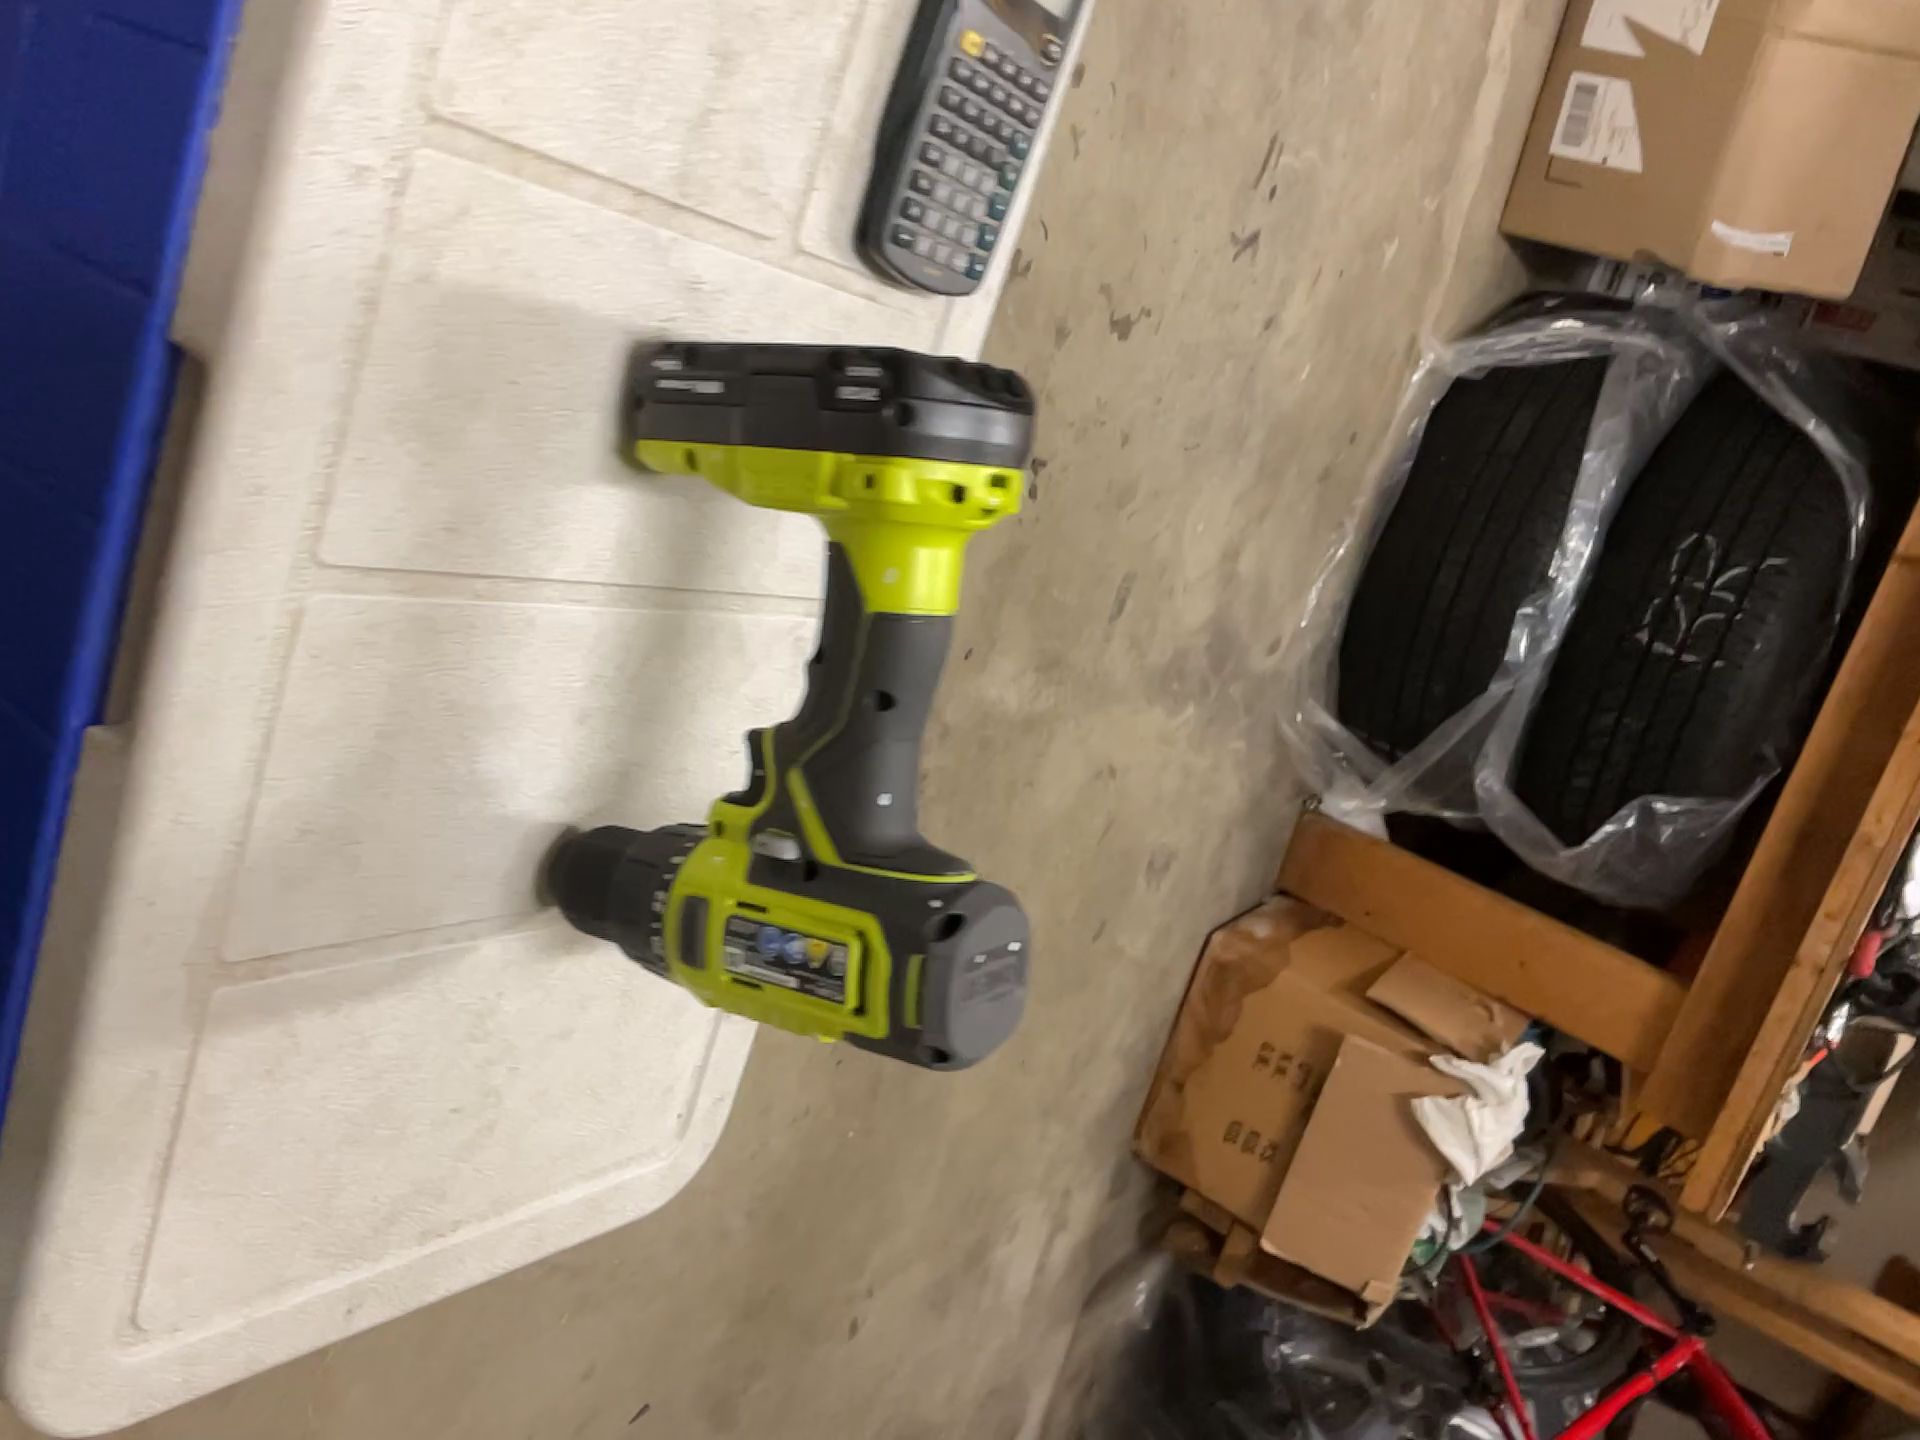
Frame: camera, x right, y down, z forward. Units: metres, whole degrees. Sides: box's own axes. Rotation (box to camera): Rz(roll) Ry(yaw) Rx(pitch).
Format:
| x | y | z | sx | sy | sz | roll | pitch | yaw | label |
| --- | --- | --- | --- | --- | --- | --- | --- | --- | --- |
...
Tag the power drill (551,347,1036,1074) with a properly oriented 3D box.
| x | y | z | sx | sy | sz | roll | pitch | yaw | label |
| --- | --- | --- | --- | --- | --- | --- | --- | --- | --- |
| -0.062 | -0.007 | 0.550 | 0.080 | 0.190 | 0.228 | -6 | 104 | -57 | power drill |
